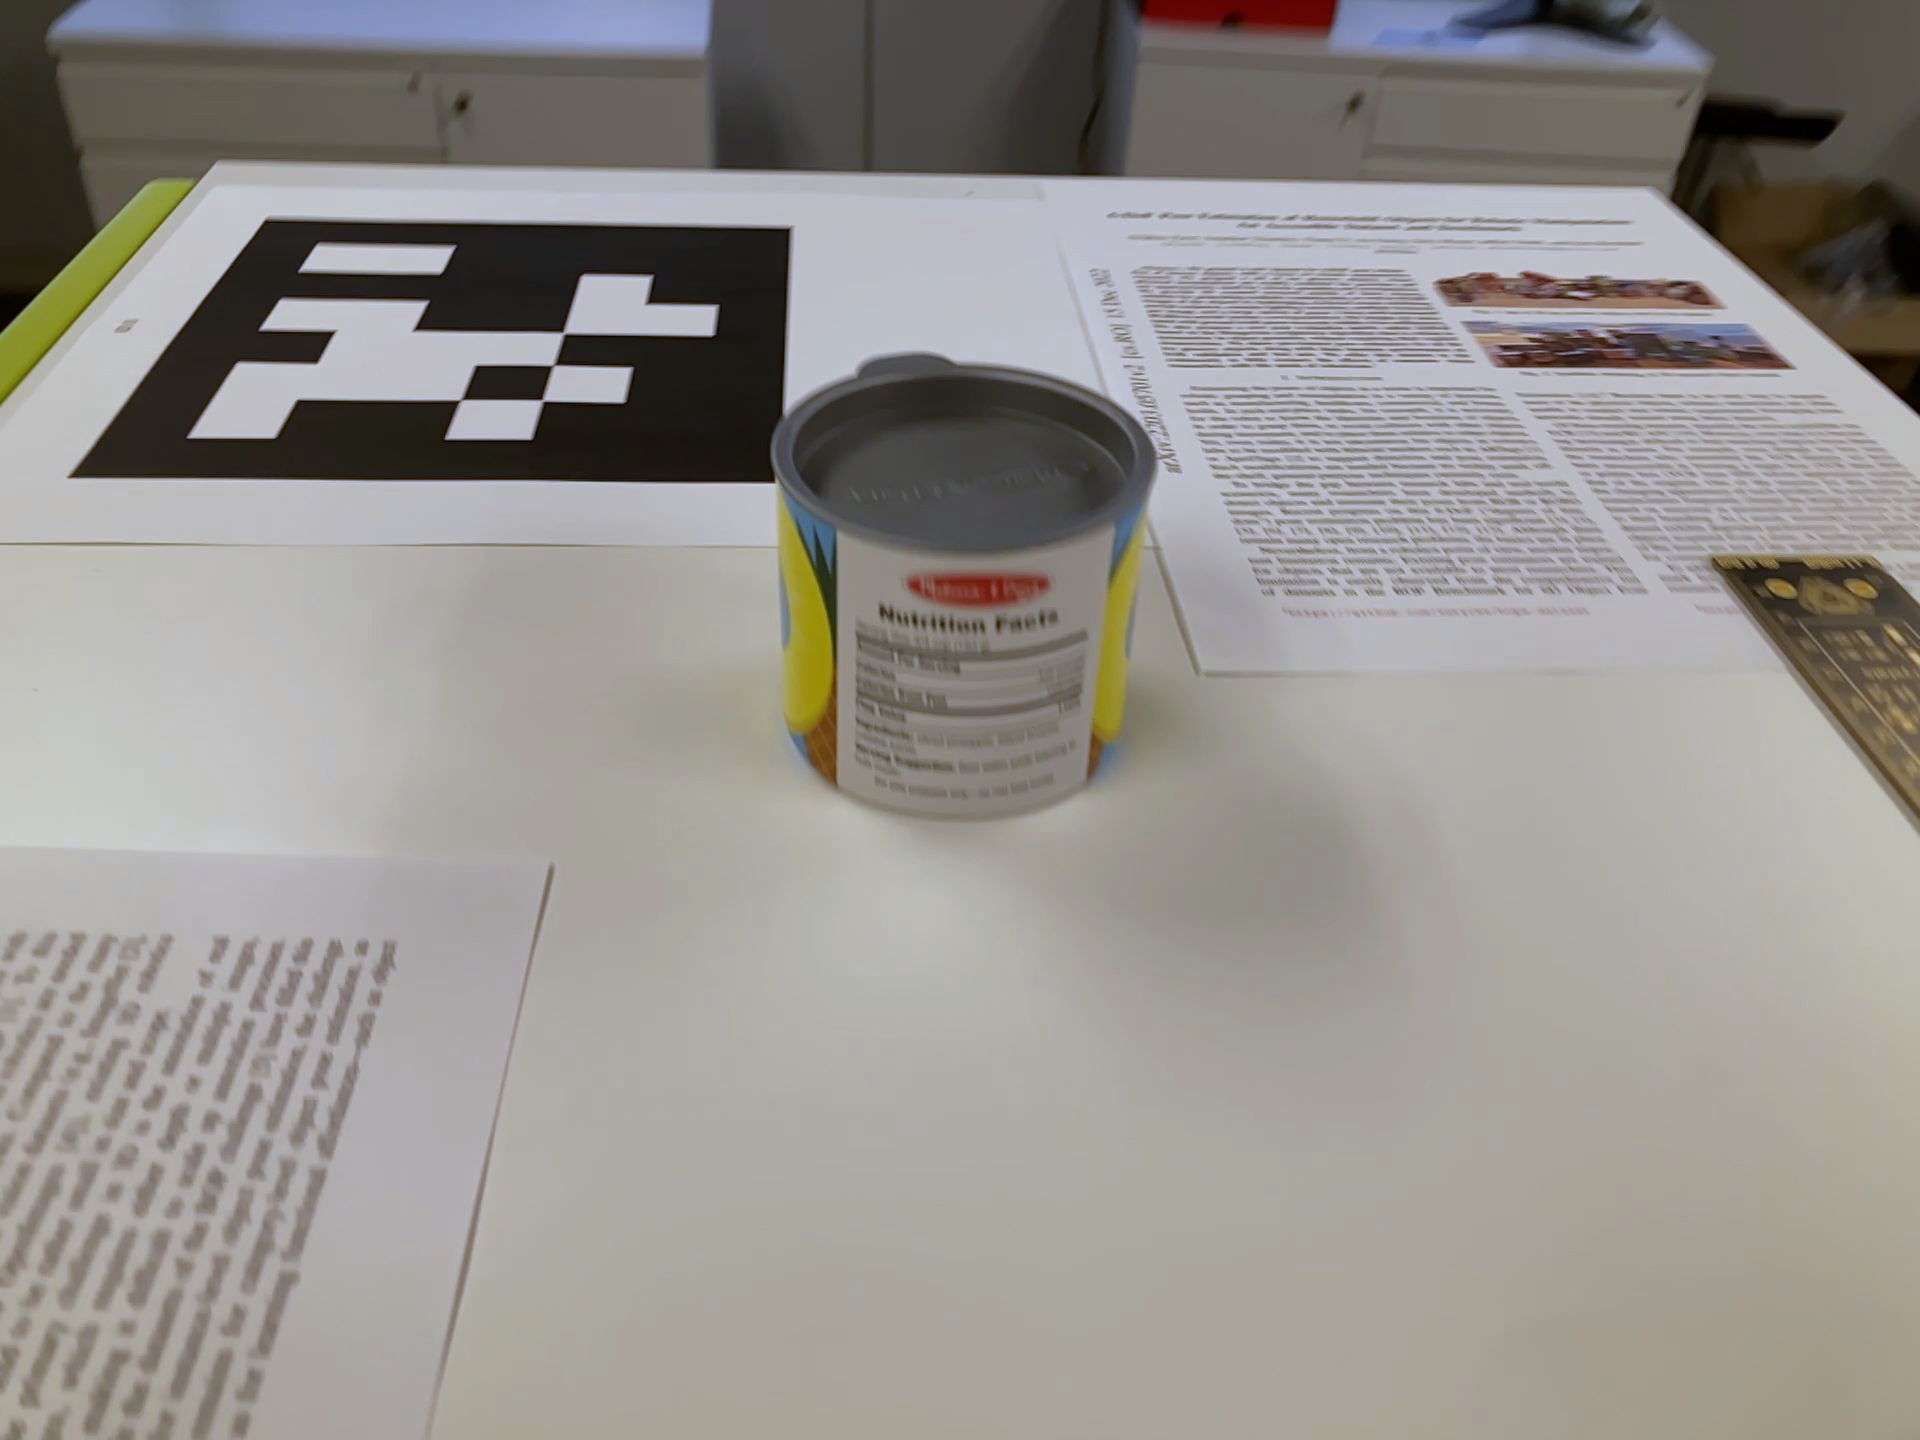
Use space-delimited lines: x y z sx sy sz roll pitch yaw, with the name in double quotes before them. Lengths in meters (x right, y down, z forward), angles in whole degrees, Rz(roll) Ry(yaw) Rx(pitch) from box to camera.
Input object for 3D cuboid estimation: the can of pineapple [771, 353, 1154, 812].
"can of pineapple" -0.001 -0.027 0.292 0.071 0.058 0.071 2 37 -2
